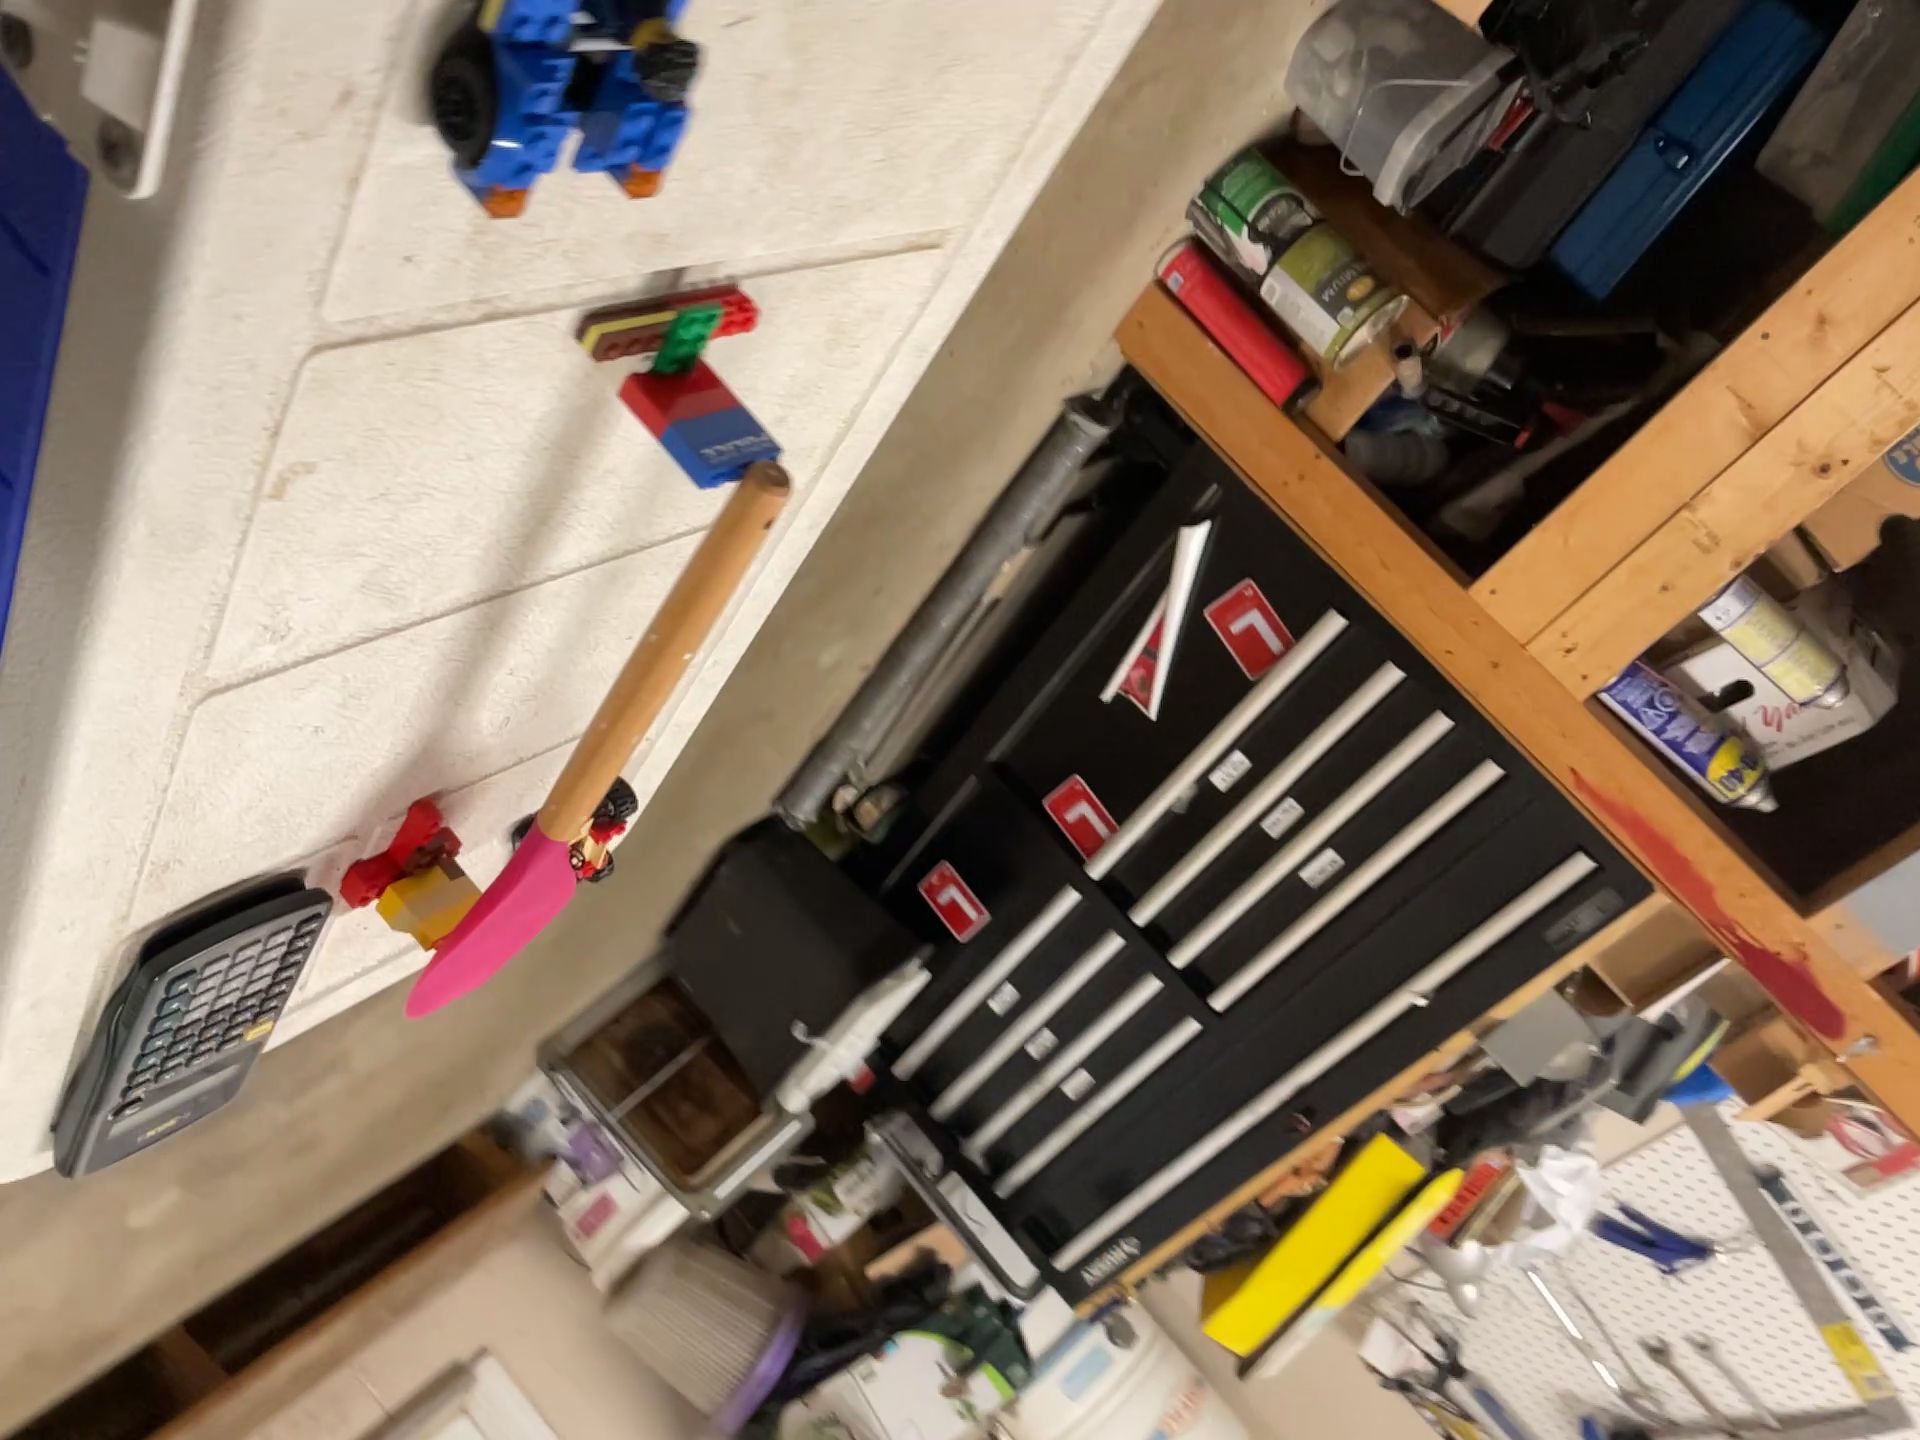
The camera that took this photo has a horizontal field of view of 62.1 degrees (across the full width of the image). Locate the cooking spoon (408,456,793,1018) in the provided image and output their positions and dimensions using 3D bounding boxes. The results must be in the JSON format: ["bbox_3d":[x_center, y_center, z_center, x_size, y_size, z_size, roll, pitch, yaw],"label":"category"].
[{"bbox_3d":[-0.132,0.021,0.558,0.069,0.017,0.318,-30,166,-49],"label":"cooking spoon"}]
